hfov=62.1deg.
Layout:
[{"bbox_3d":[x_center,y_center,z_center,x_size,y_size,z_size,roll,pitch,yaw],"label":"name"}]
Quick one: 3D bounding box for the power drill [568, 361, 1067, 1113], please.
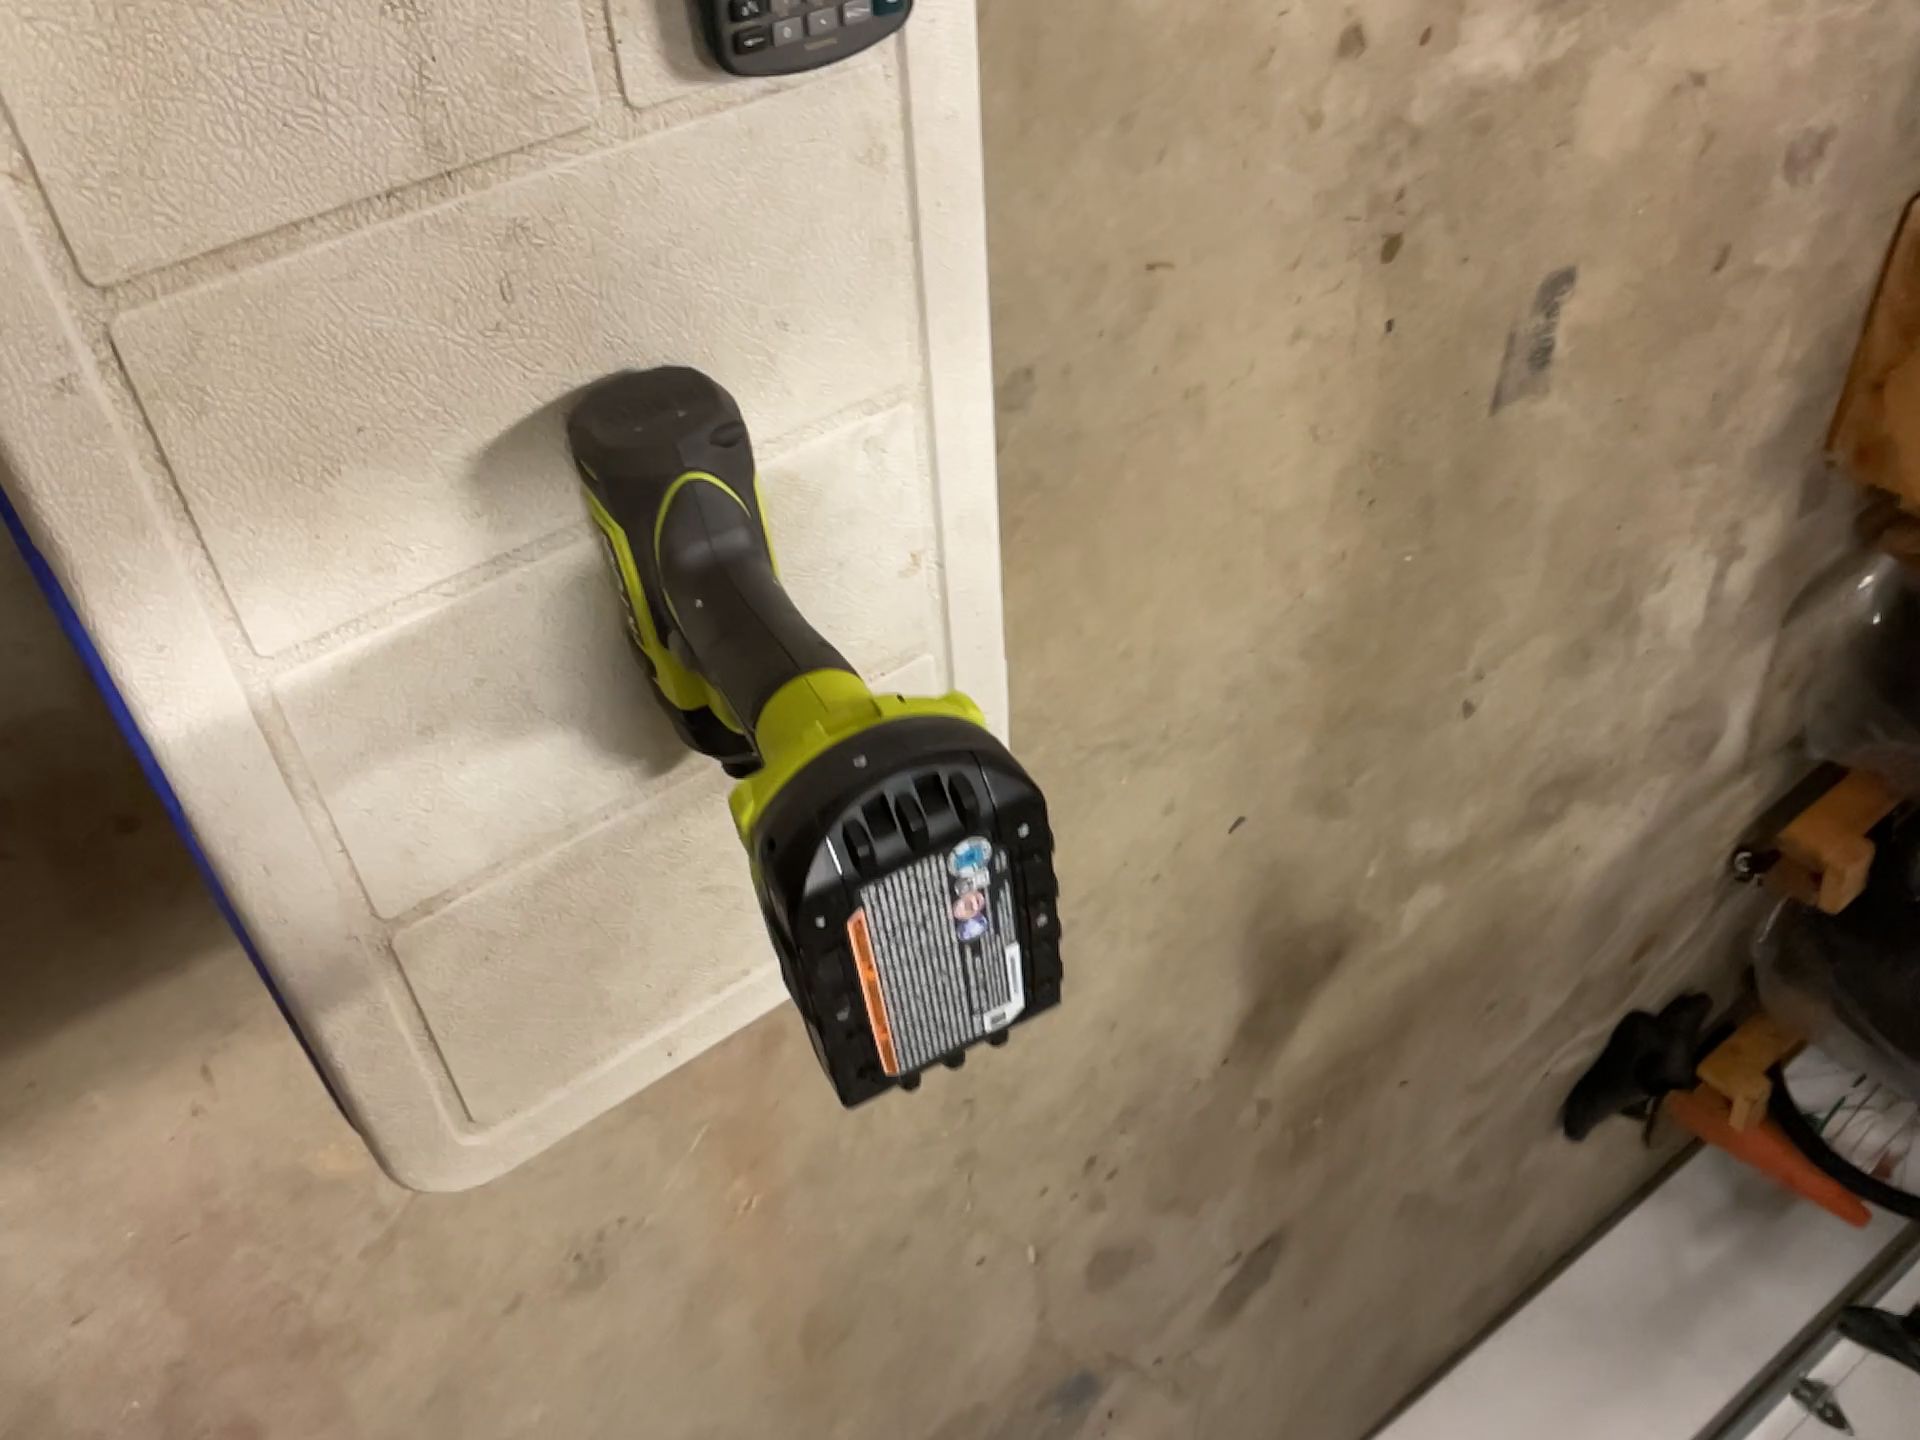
[{"bbox_3d":[-0.054,0.007,0.520,0.080,0.223,0.171,-23,136,-16],"label":"power drill"}]
